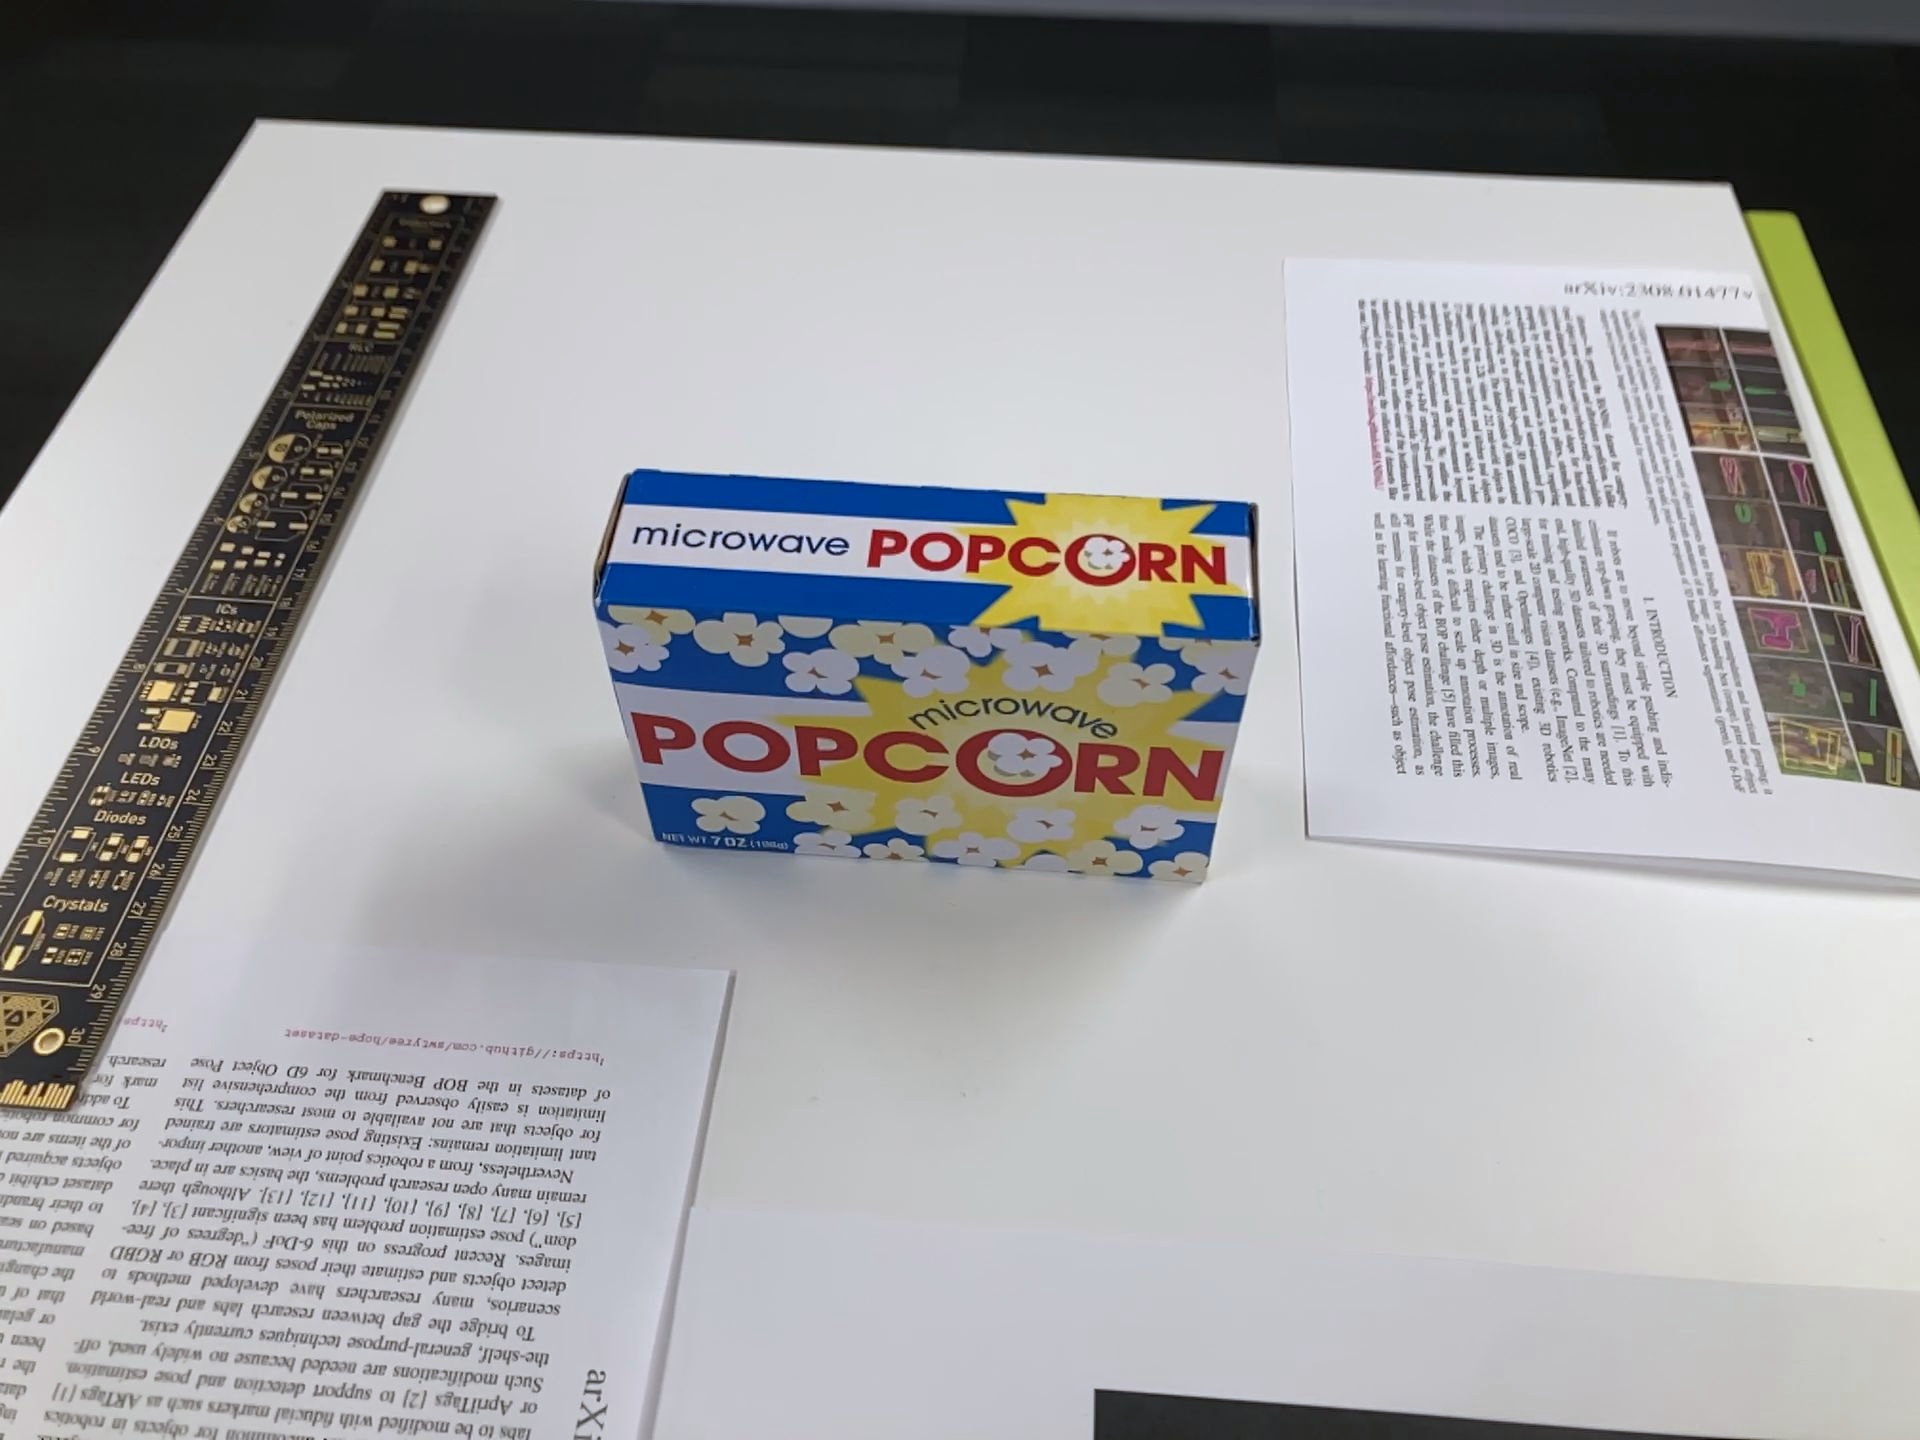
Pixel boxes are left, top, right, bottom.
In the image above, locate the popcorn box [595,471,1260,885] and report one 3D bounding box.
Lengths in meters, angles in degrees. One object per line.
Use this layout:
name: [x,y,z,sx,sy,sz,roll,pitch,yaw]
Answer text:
popcorn box: [-0.006,-0.007,0.335,0.126,0.085,0.038,4,51,3]
